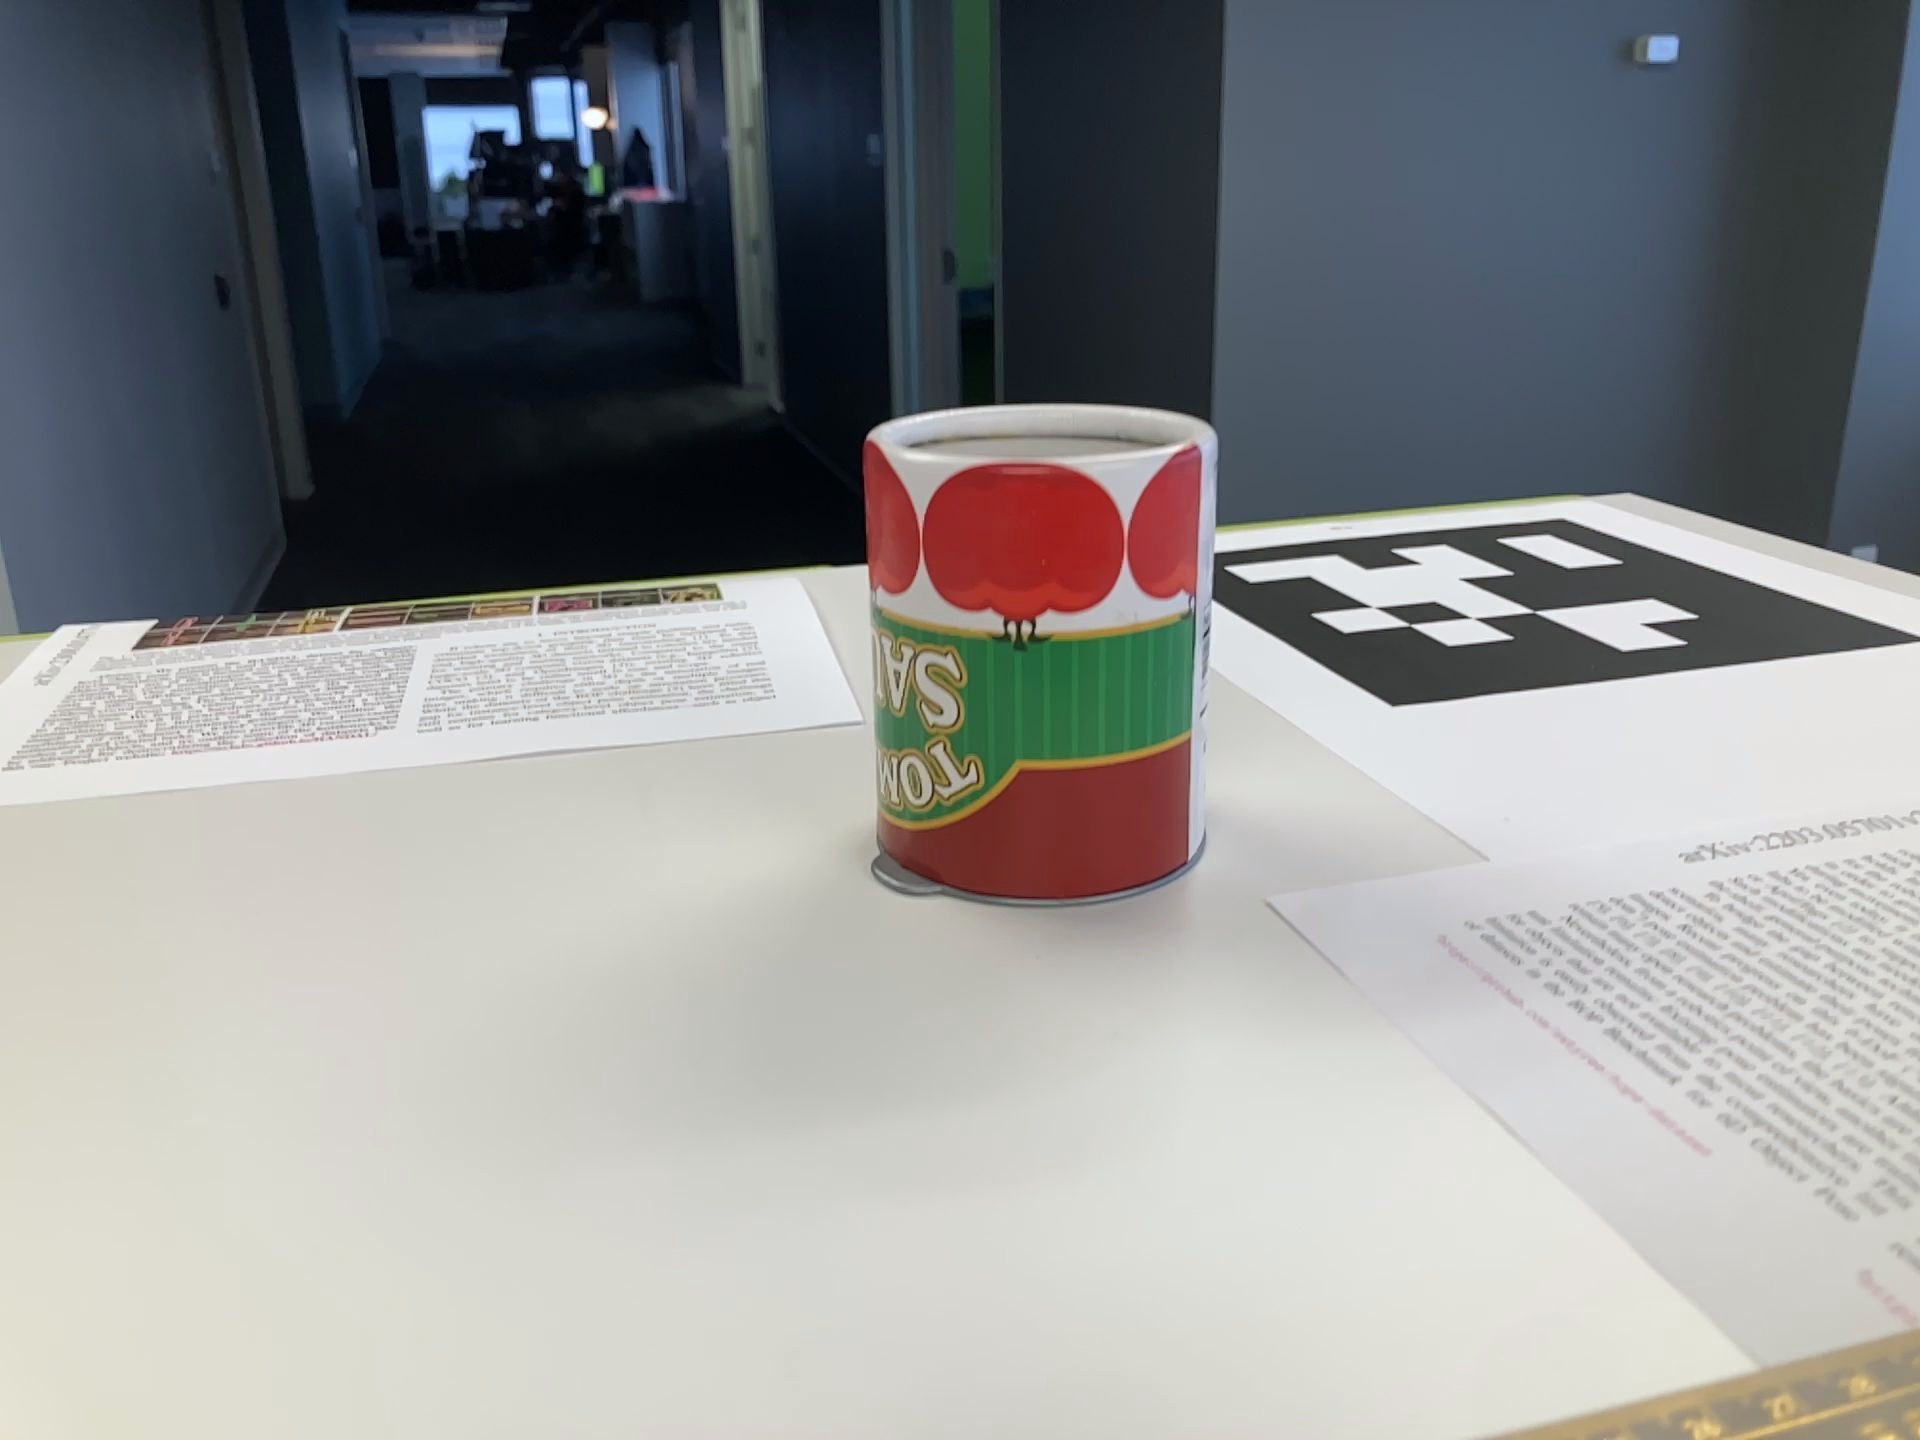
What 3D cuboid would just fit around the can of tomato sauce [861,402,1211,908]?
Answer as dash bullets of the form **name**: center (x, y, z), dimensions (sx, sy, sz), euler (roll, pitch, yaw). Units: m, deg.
- **can of tomato sauce**: center (0.013, -0.015, 0.311), dimensions (0.071, 0.083, 0.071), euler (-1, 21, 0)
